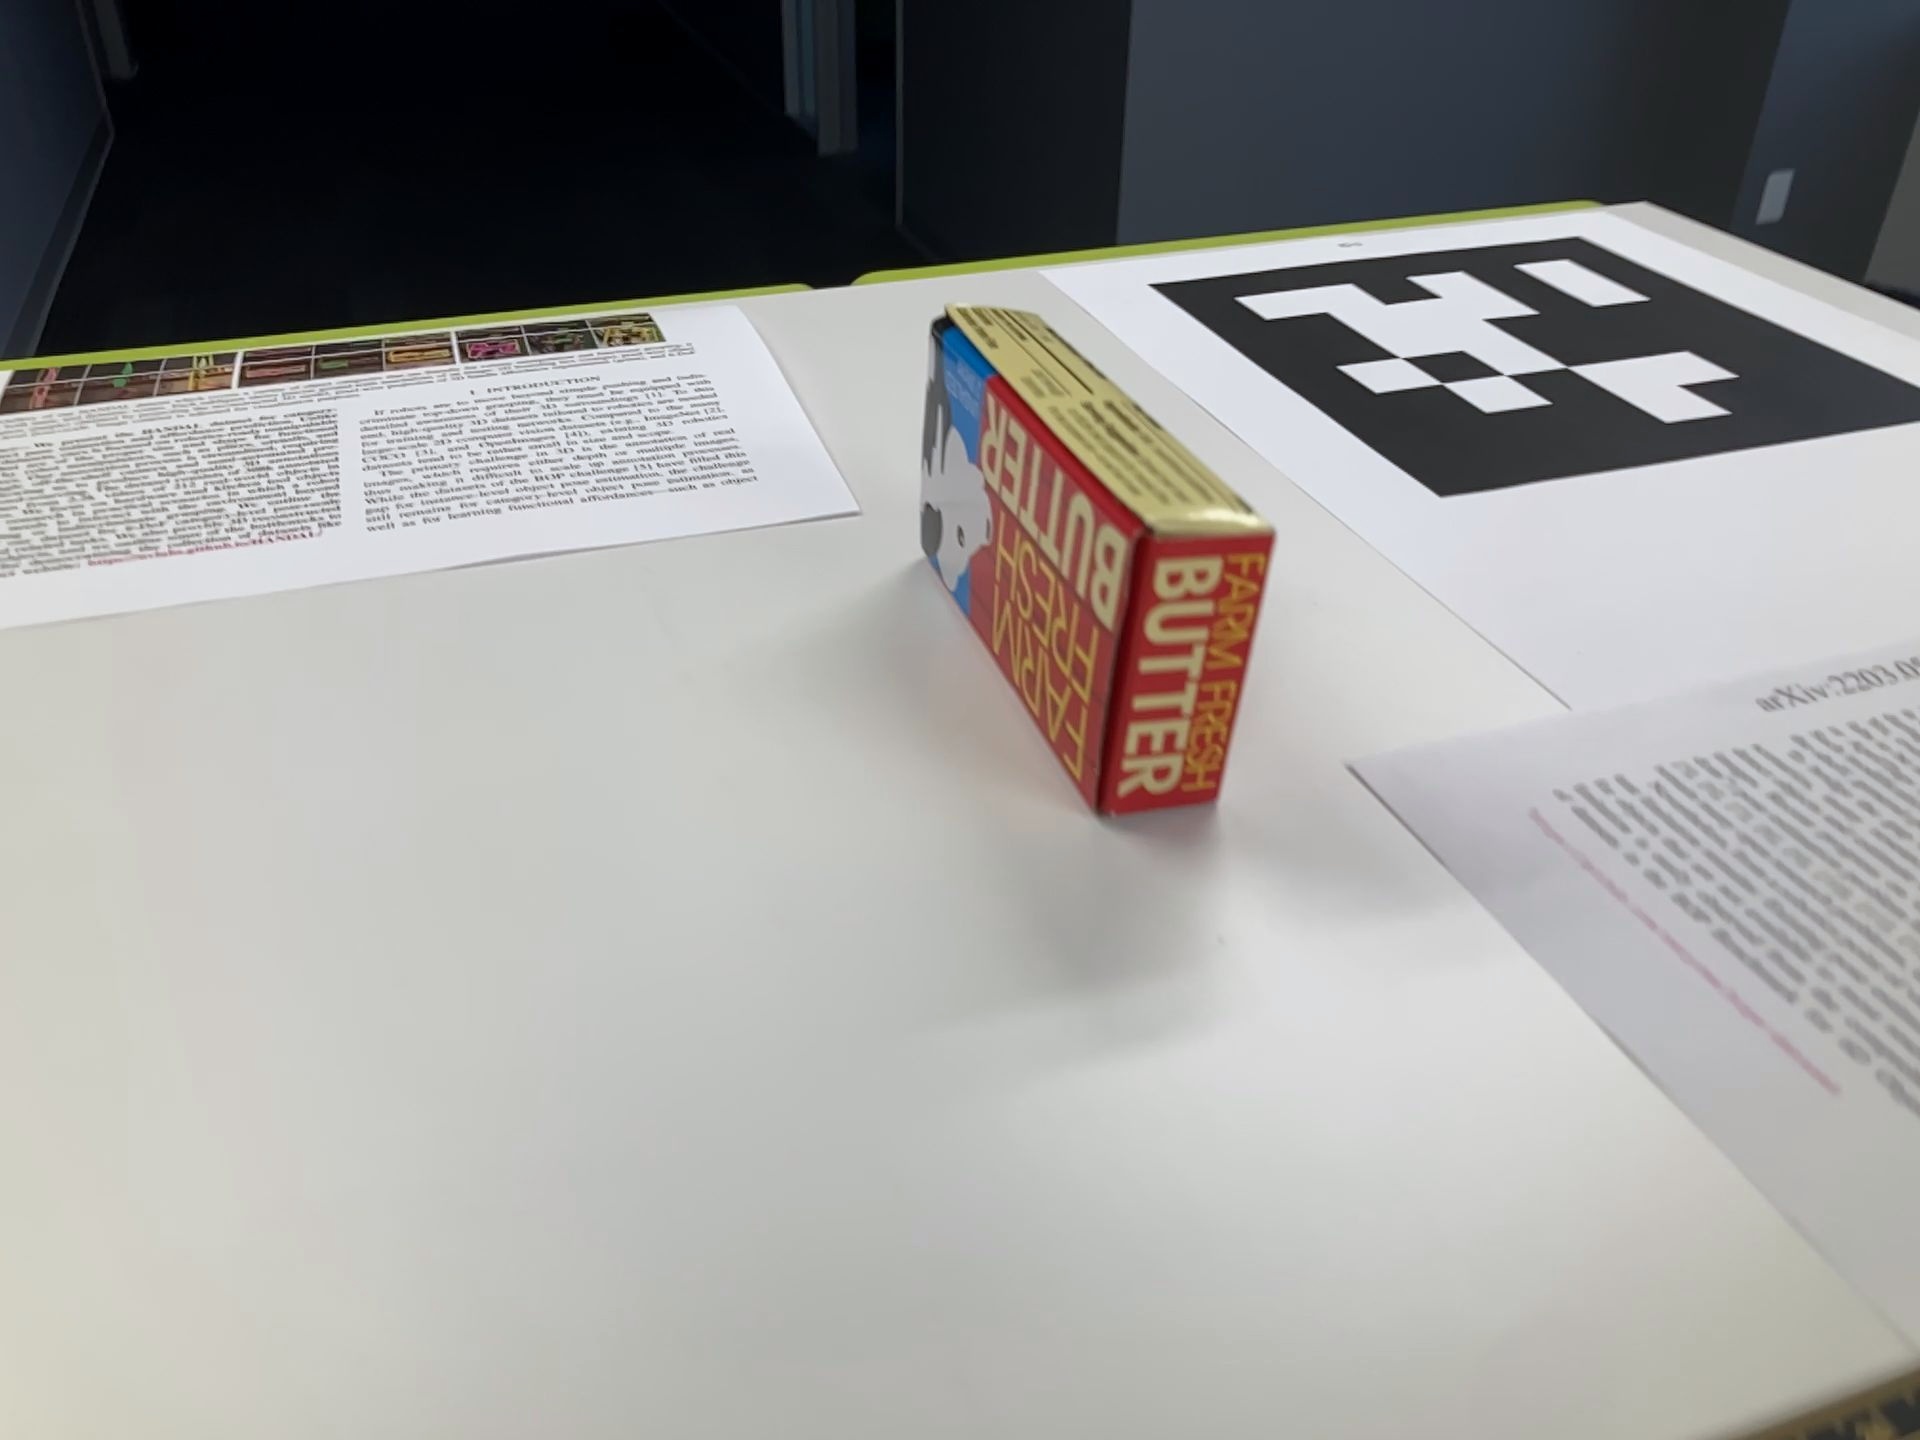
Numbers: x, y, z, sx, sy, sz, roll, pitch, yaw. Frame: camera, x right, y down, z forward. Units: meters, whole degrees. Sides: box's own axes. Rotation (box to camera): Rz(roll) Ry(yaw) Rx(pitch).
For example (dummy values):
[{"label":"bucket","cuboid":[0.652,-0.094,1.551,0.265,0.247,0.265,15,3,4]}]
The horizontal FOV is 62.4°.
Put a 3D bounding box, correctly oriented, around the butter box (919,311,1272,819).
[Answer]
[{"label":"butter box","cuboid":[0.019,-0.033,0.287,0.024,0.053,0.103,-7,34,-18]}]
